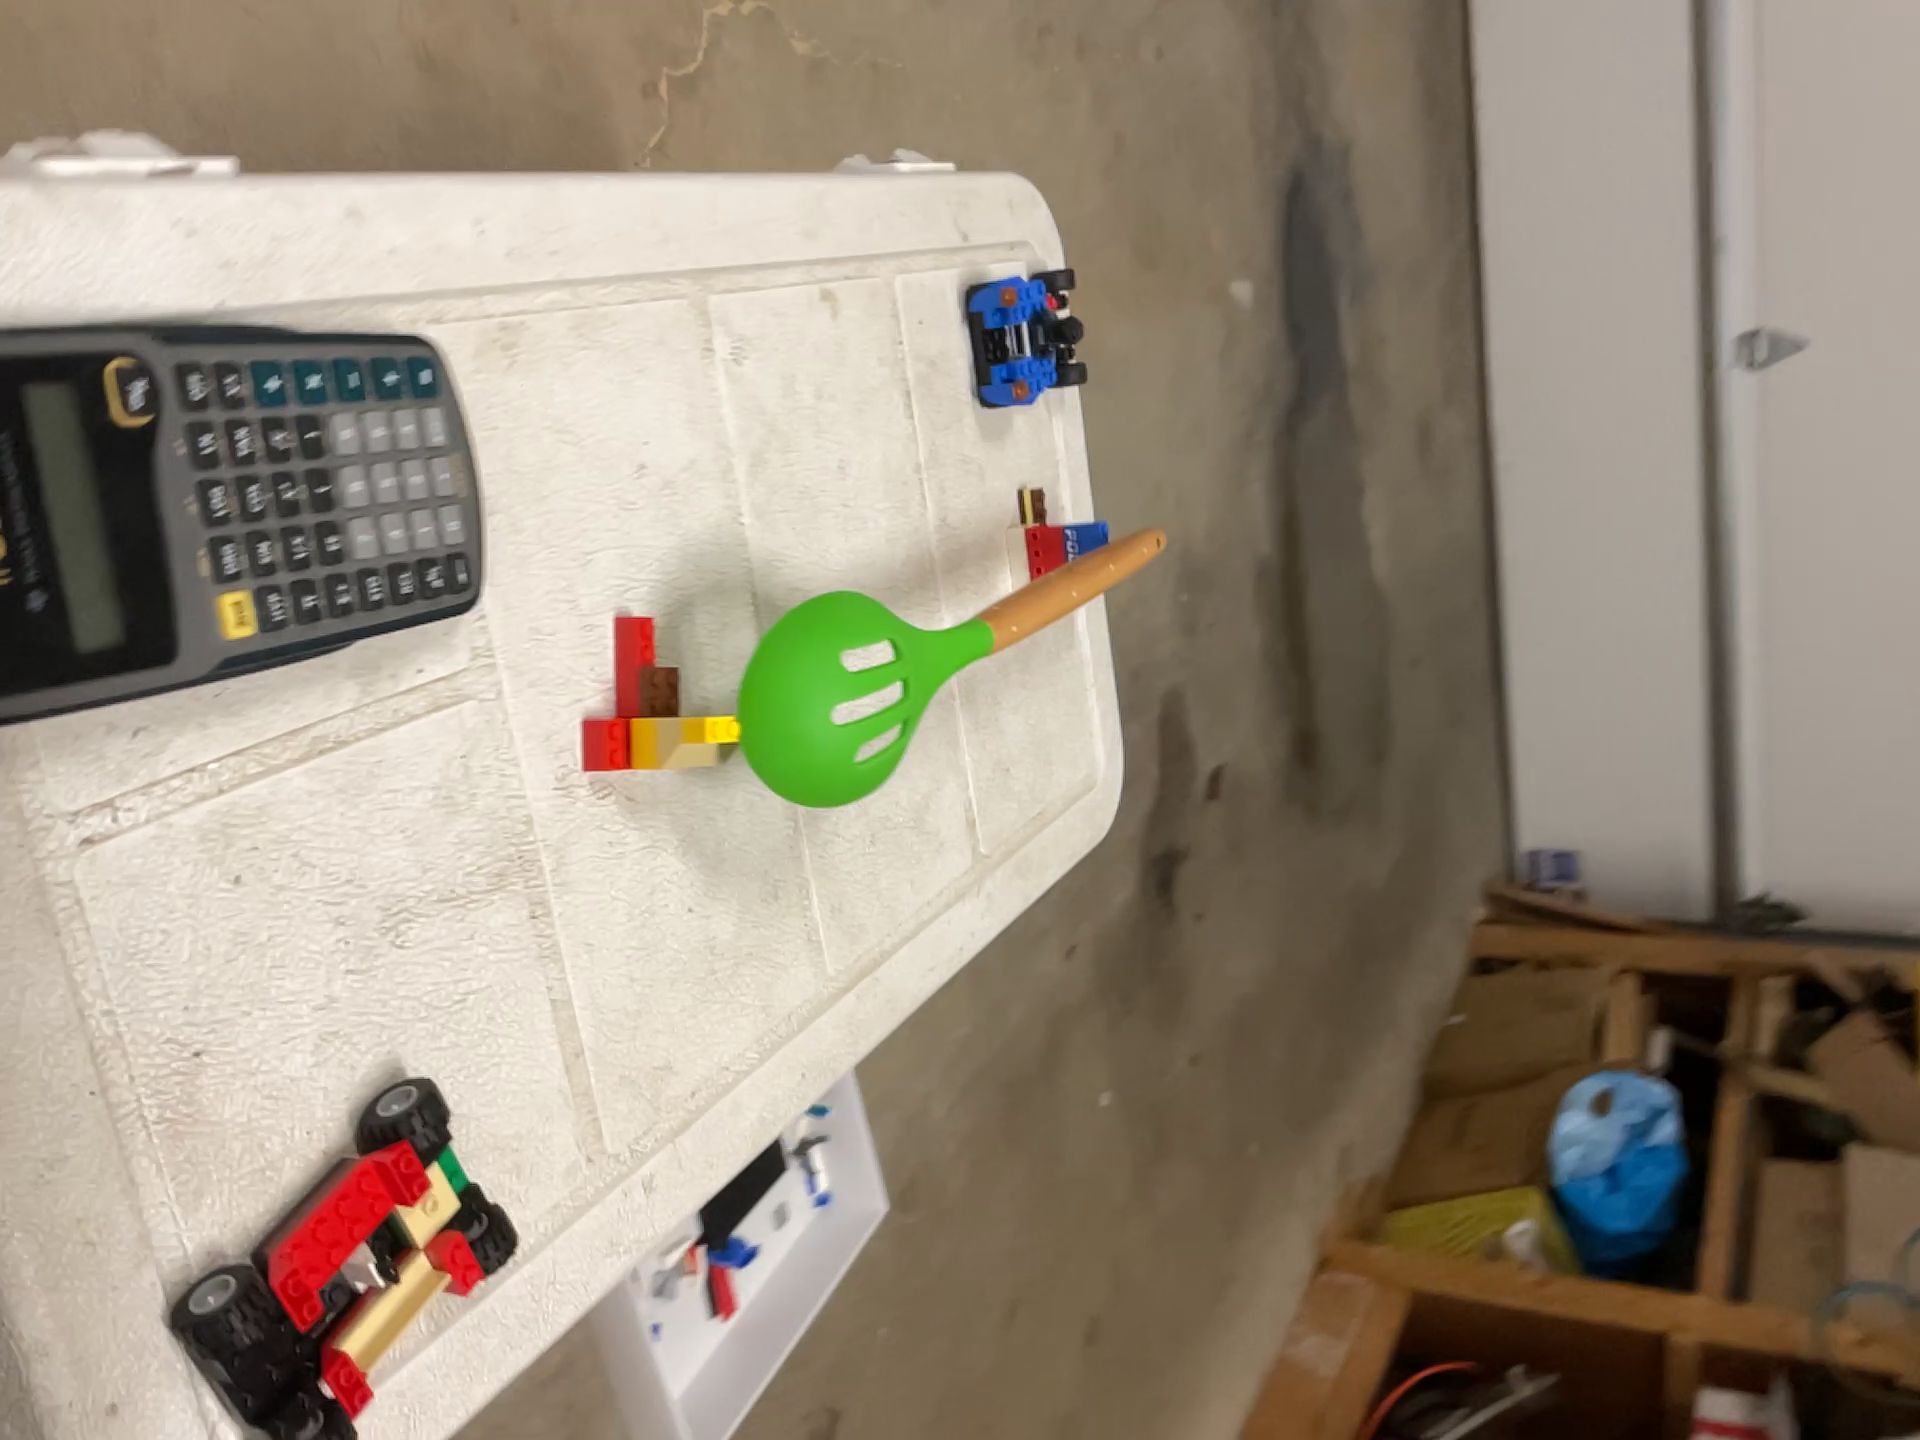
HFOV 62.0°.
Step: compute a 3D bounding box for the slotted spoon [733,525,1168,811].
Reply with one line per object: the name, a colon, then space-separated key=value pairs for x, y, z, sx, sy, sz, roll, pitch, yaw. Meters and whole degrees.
slotted spoon: x=0.018 y=-0.040 z=0.612 sx=0.314 sy=0.031 sz=0.070 roll=-32 pitch=116 yaw=-57
